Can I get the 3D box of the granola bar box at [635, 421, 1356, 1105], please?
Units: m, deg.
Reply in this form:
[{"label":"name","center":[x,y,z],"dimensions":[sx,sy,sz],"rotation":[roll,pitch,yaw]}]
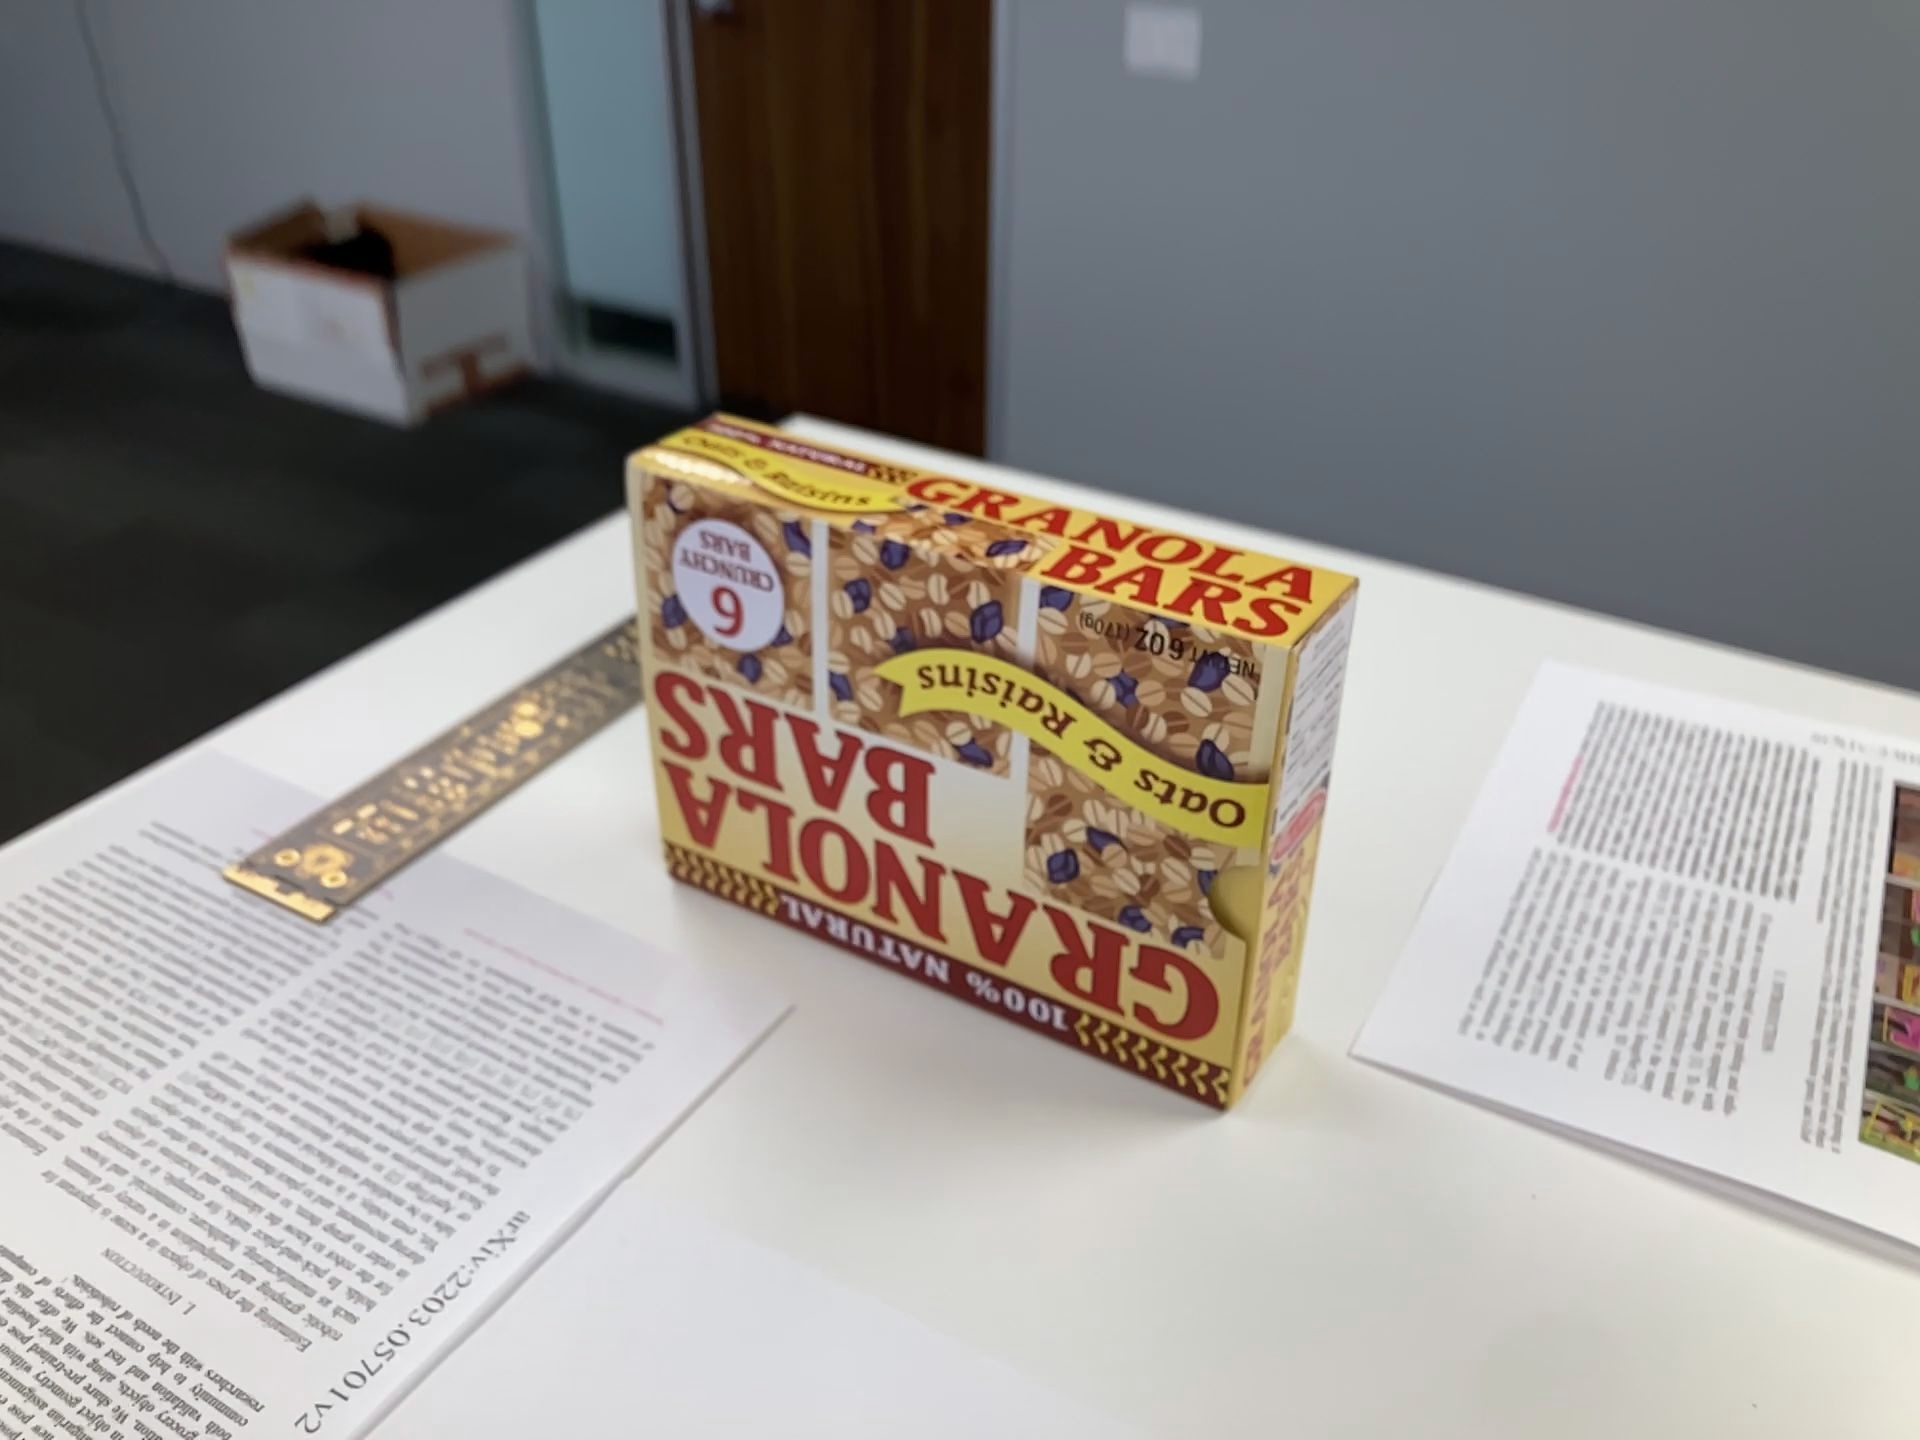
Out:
[{"label":"granola bar box","center":[0.001,0.008,0.383],"dimensions":[0.165,0.124,0.039],"rotation":[18,36,26]}]
